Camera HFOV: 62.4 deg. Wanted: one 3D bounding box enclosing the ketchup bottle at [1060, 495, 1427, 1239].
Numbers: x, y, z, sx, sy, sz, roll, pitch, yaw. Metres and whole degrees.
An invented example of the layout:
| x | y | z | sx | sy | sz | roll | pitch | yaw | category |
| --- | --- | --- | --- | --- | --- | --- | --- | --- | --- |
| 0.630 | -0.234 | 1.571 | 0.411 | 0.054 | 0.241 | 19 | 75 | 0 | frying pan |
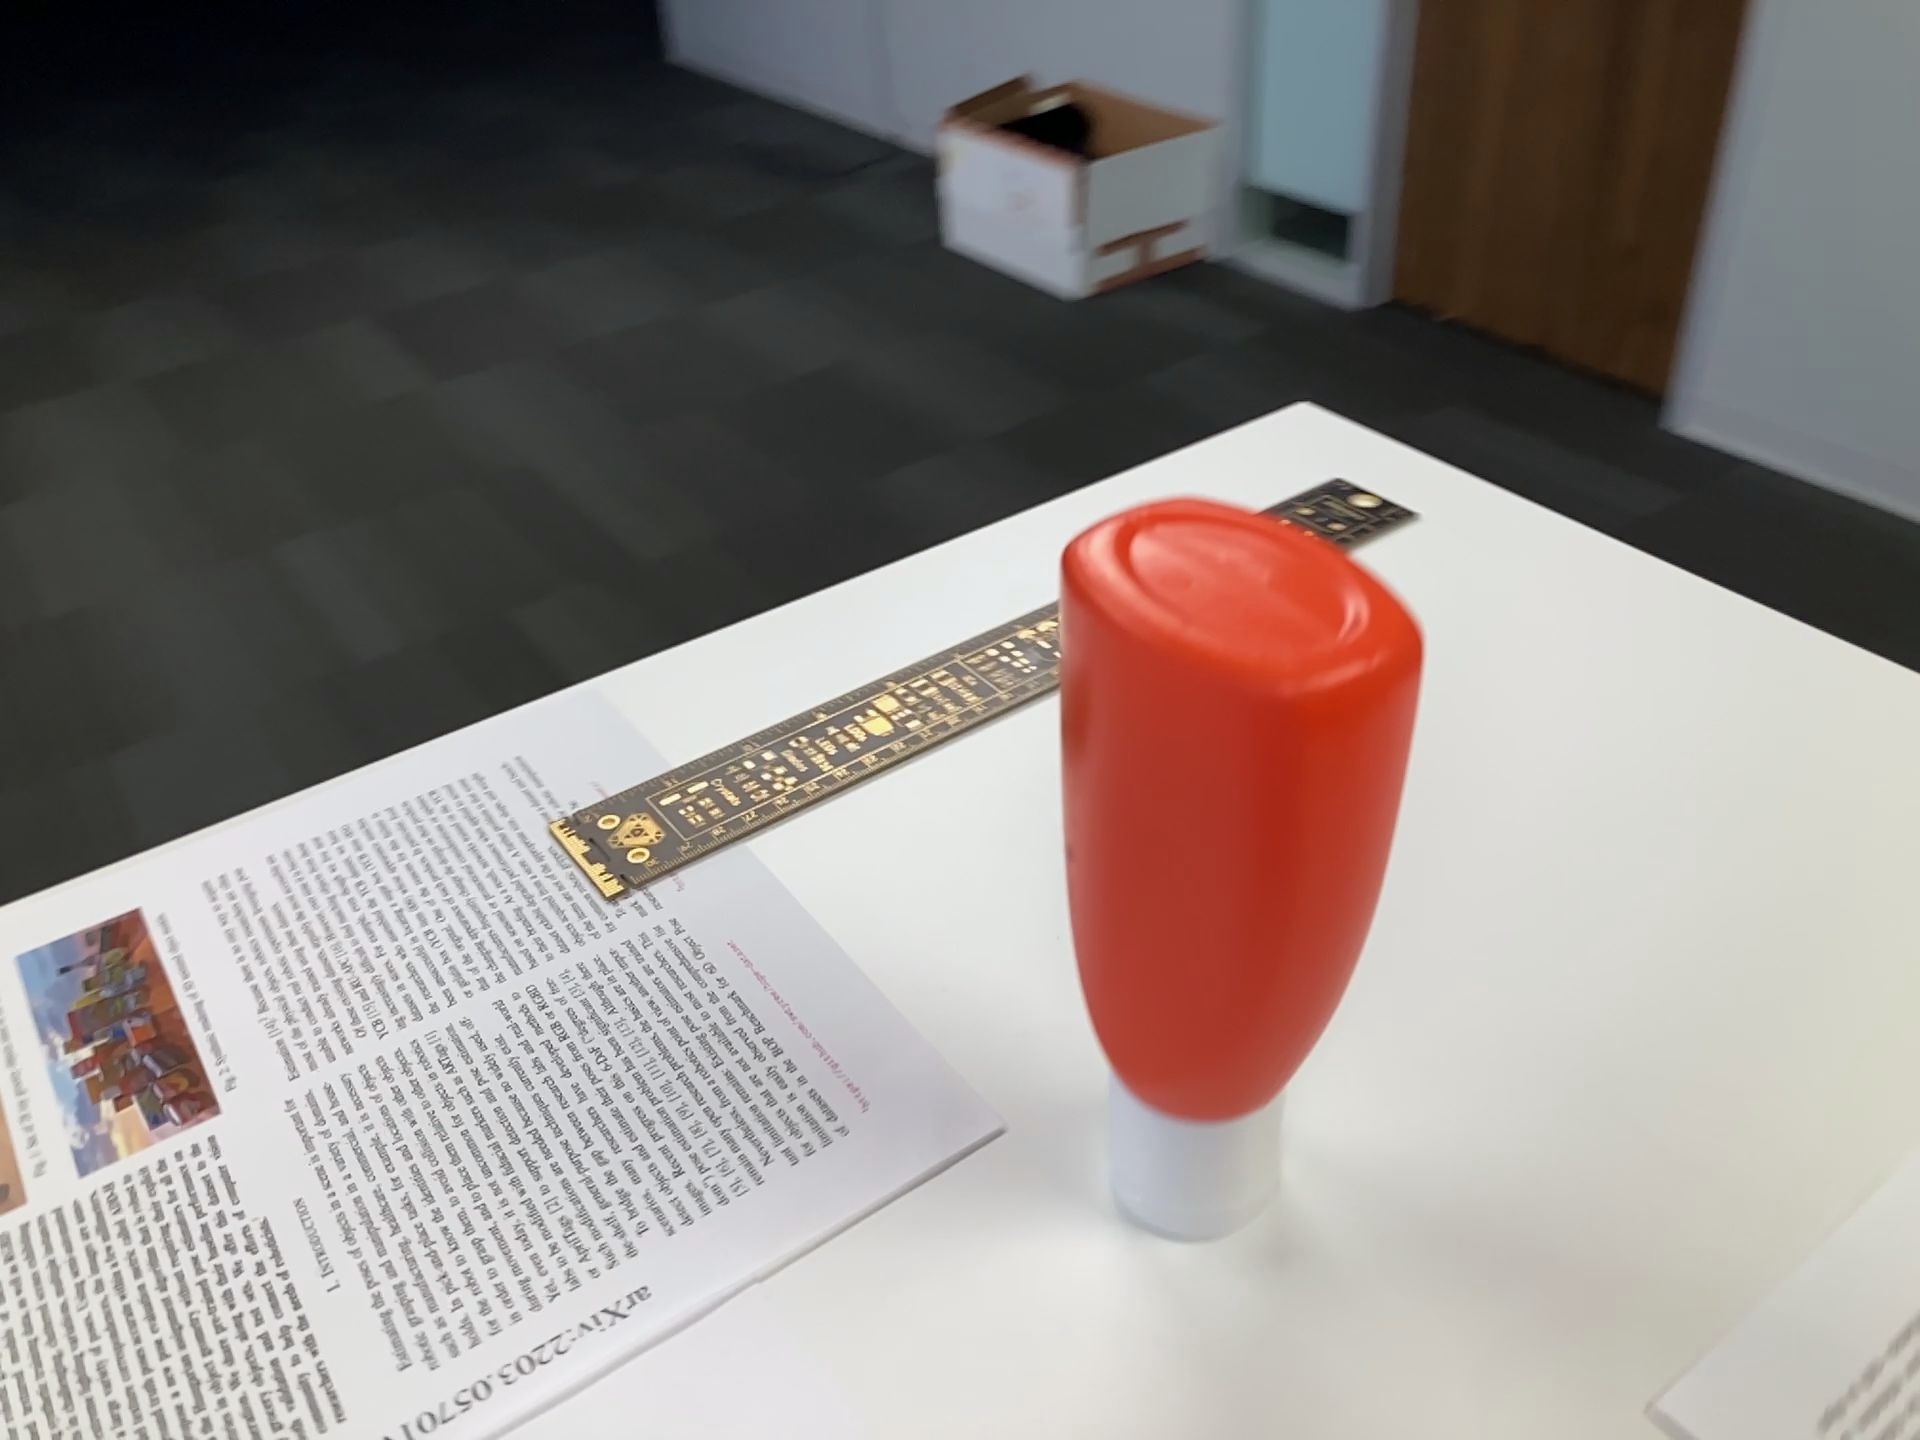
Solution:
| x | y | z | sx | sy | sz | roll | pitch | yaw | category |
| --- | --- | --- | --- | --- | --- | --- | --- | --- | --- |
| 0.046 | 0.036 | 0.294 | 0.043 | 0.149 | 0.065 | -23 | 41 | -26 | ketchup bottle |
